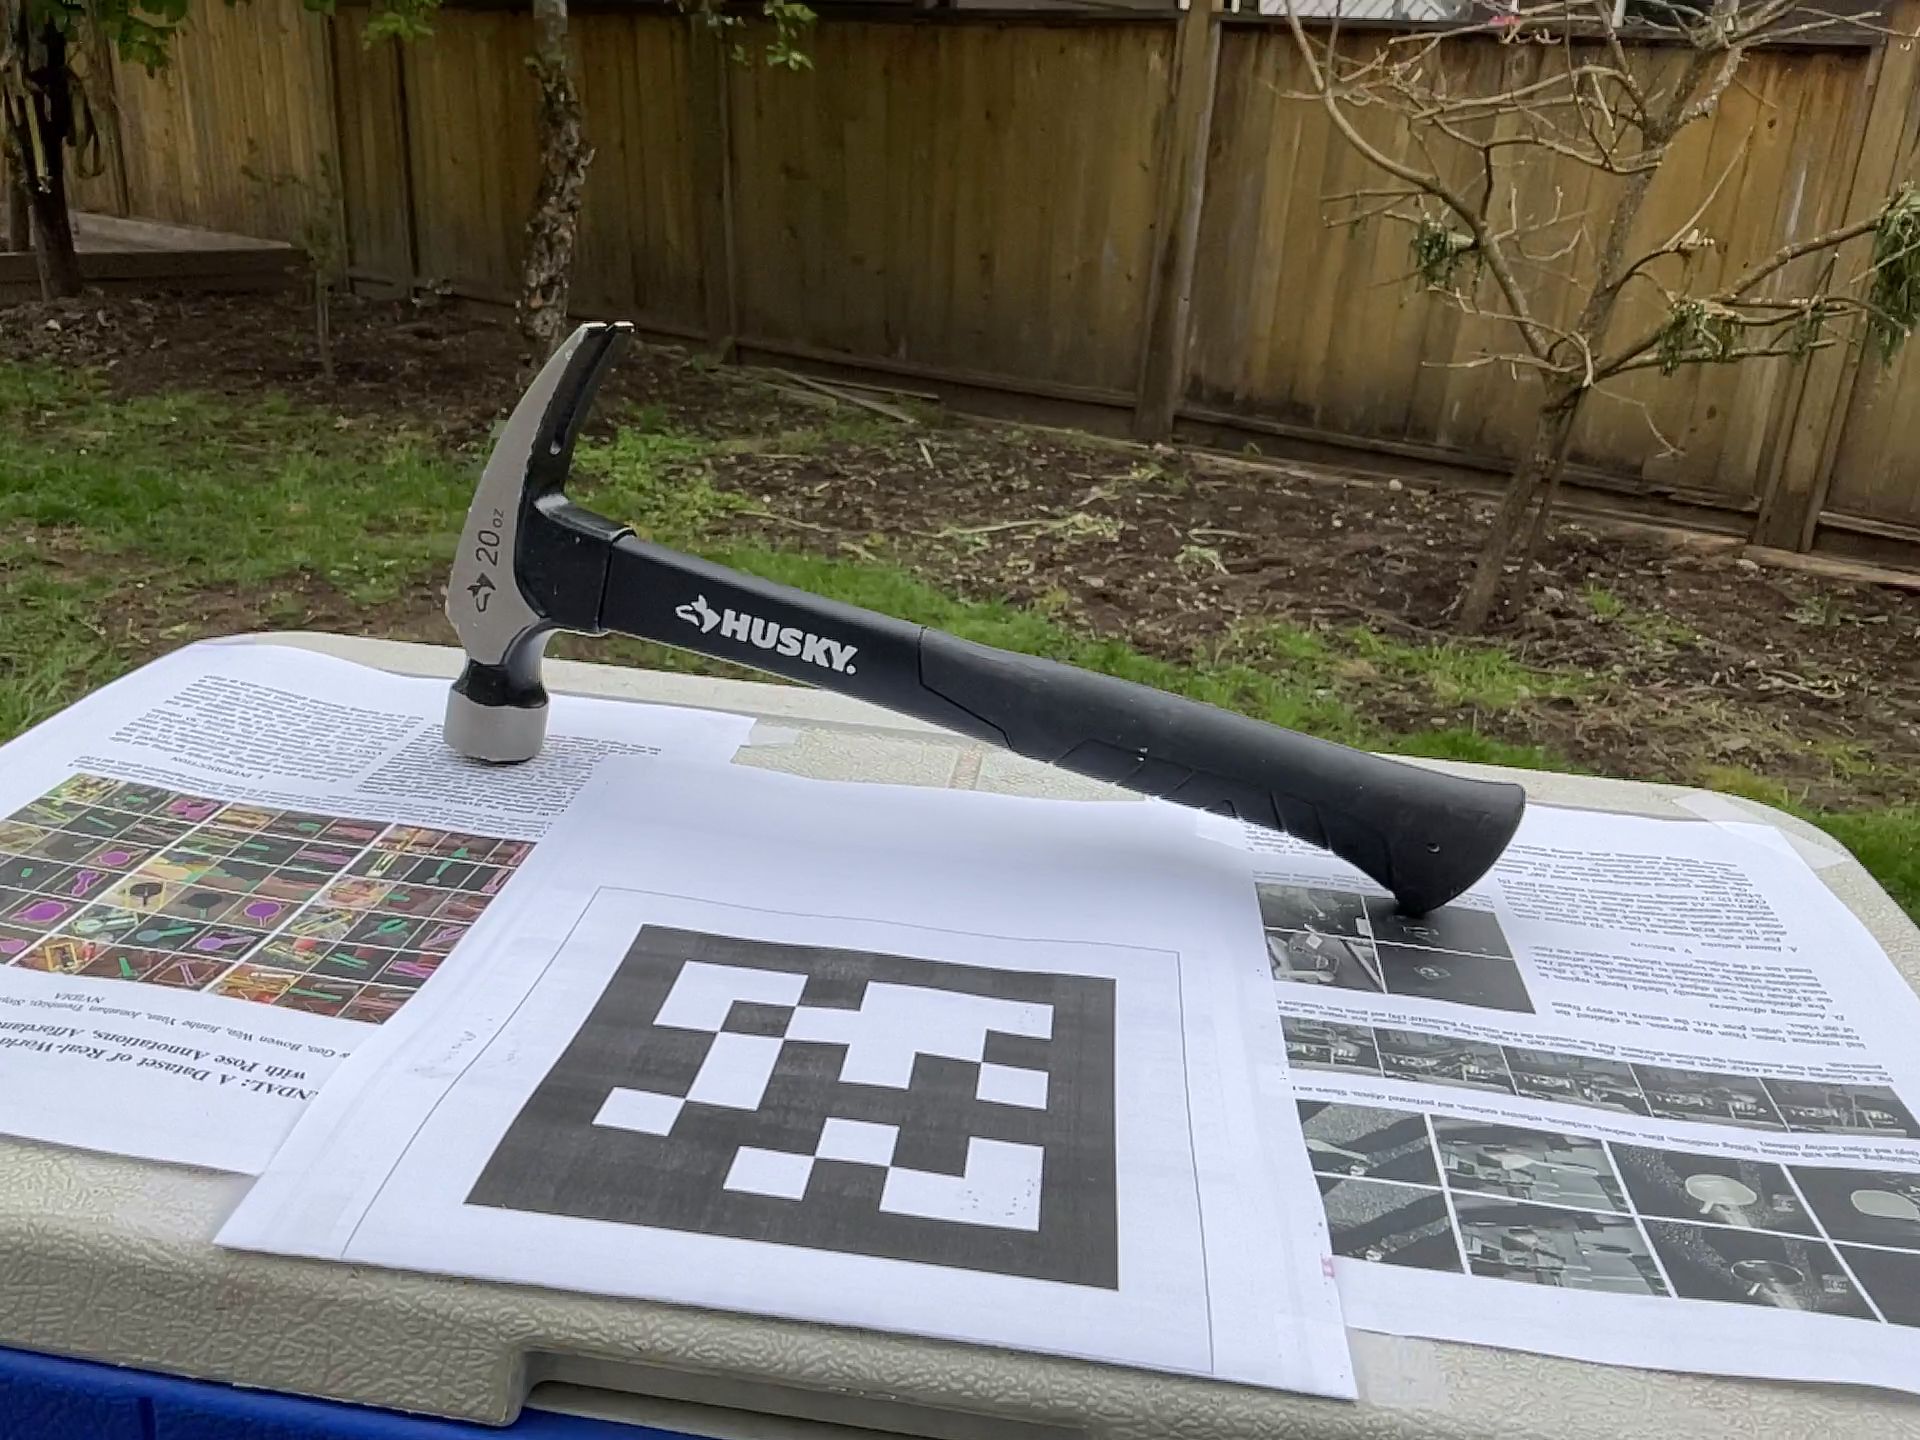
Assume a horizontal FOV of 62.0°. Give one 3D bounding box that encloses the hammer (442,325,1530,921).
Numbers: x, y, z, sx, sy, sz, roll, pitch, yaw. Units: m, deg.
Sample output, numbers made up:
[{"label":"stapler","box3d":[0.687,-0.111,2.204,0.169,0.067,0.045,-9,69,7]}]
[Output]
[{"label":"hammer","box3d":[0.003,-0.014,0.489,0.334,0.146,0.035,17,18,8]}]
